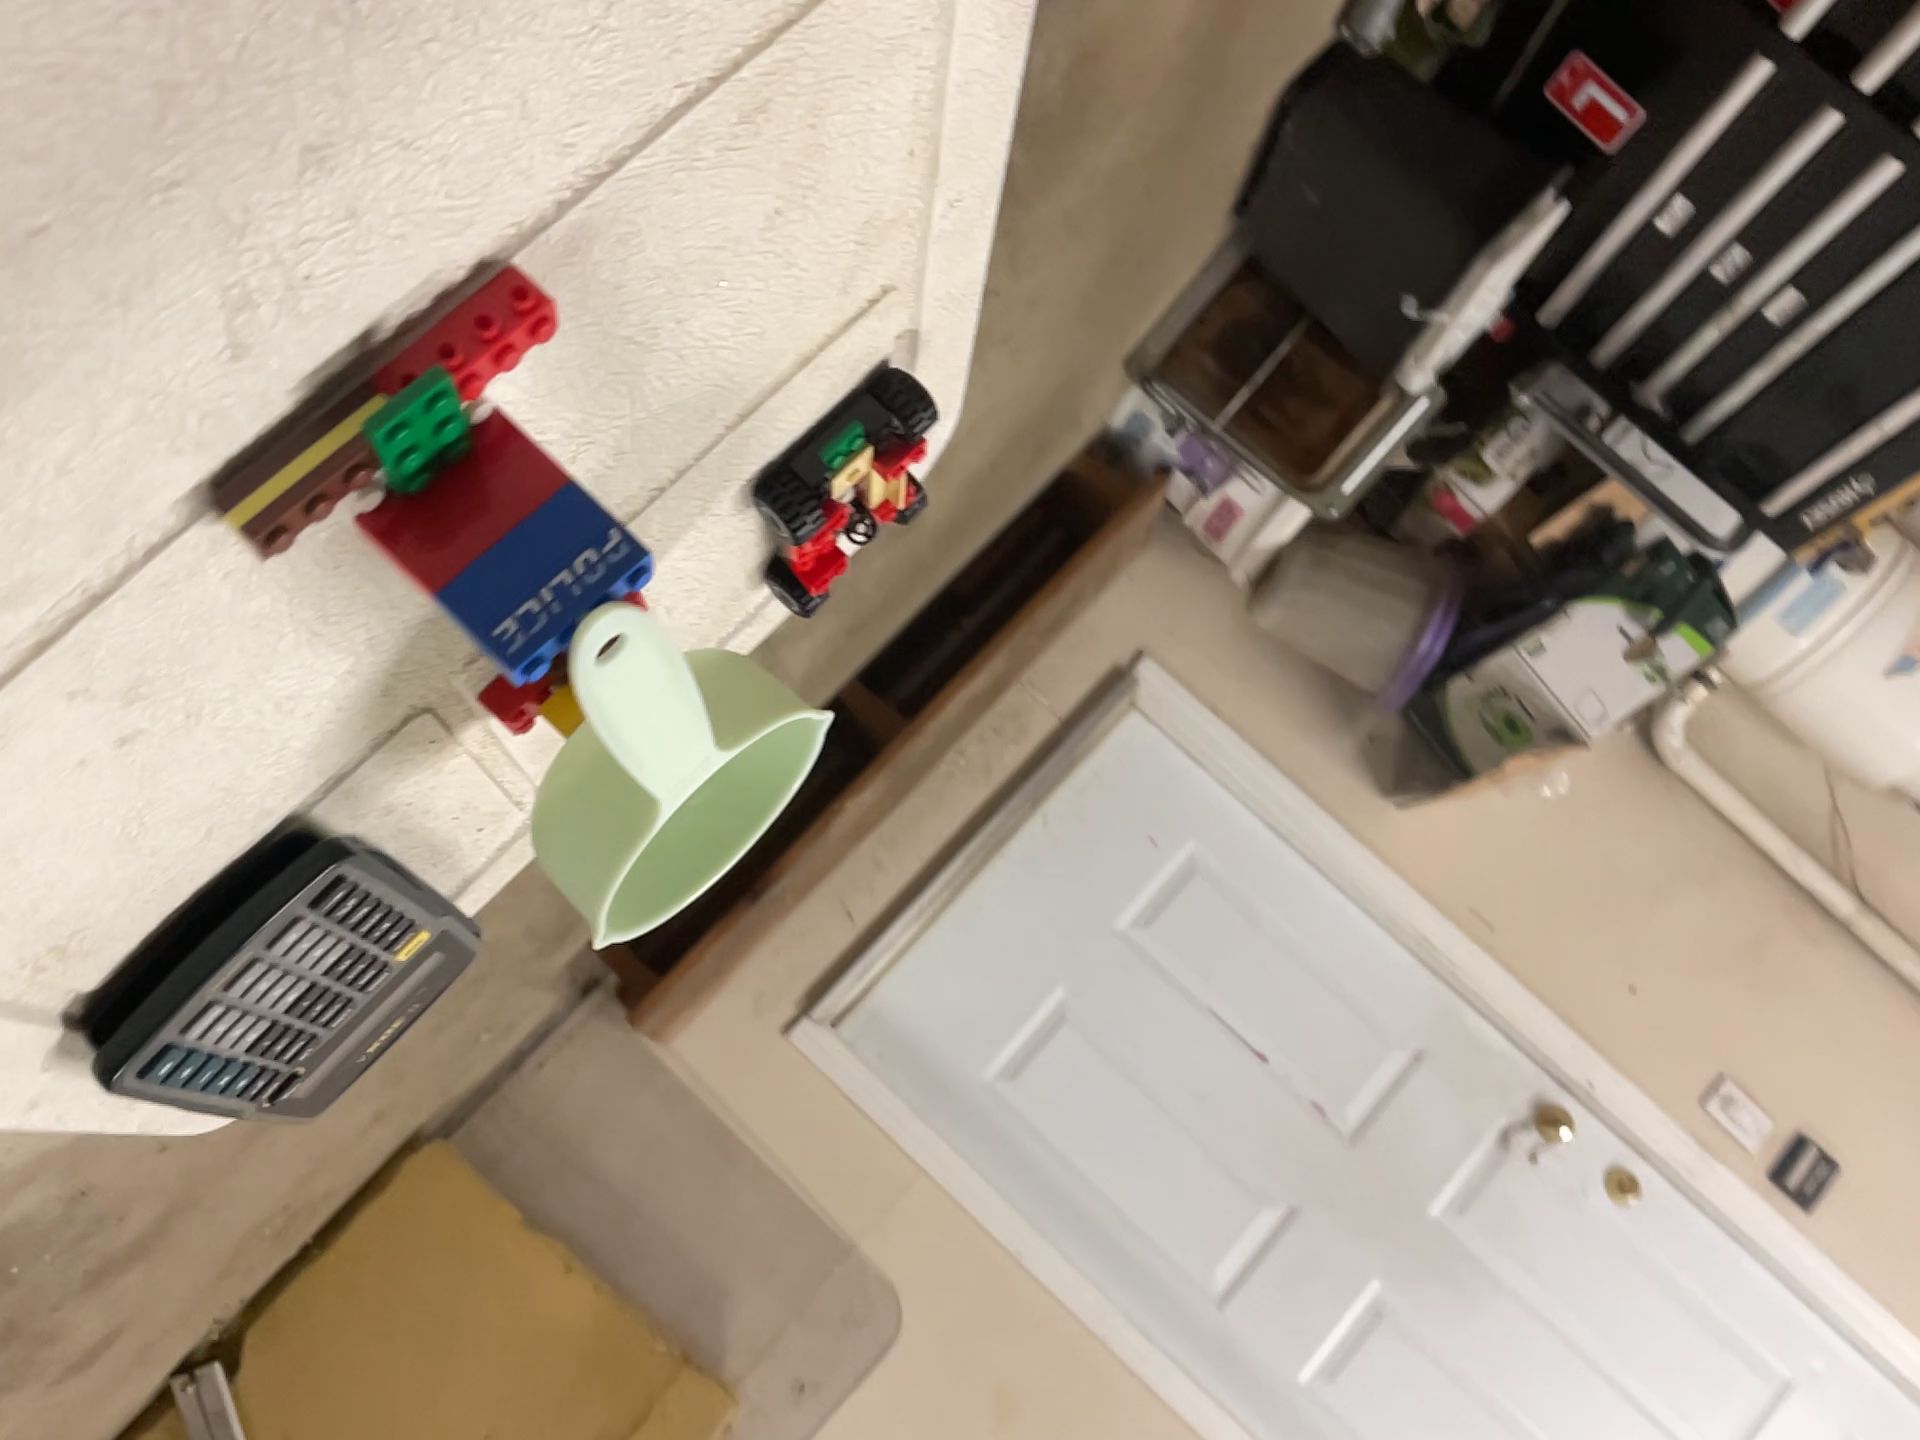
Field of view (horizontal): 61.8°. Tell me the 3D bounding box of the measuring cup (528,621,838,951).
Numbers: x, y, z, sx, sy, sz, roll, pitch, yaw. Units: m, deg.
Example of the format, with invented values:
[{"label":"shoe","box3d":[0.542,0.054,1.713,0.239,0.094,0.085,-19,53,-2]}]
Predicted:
[{"label":"measuring cup","box3d":[-0.073,0.002,0.357,0.083,0.038,0.167,-45,167,-12]}]
